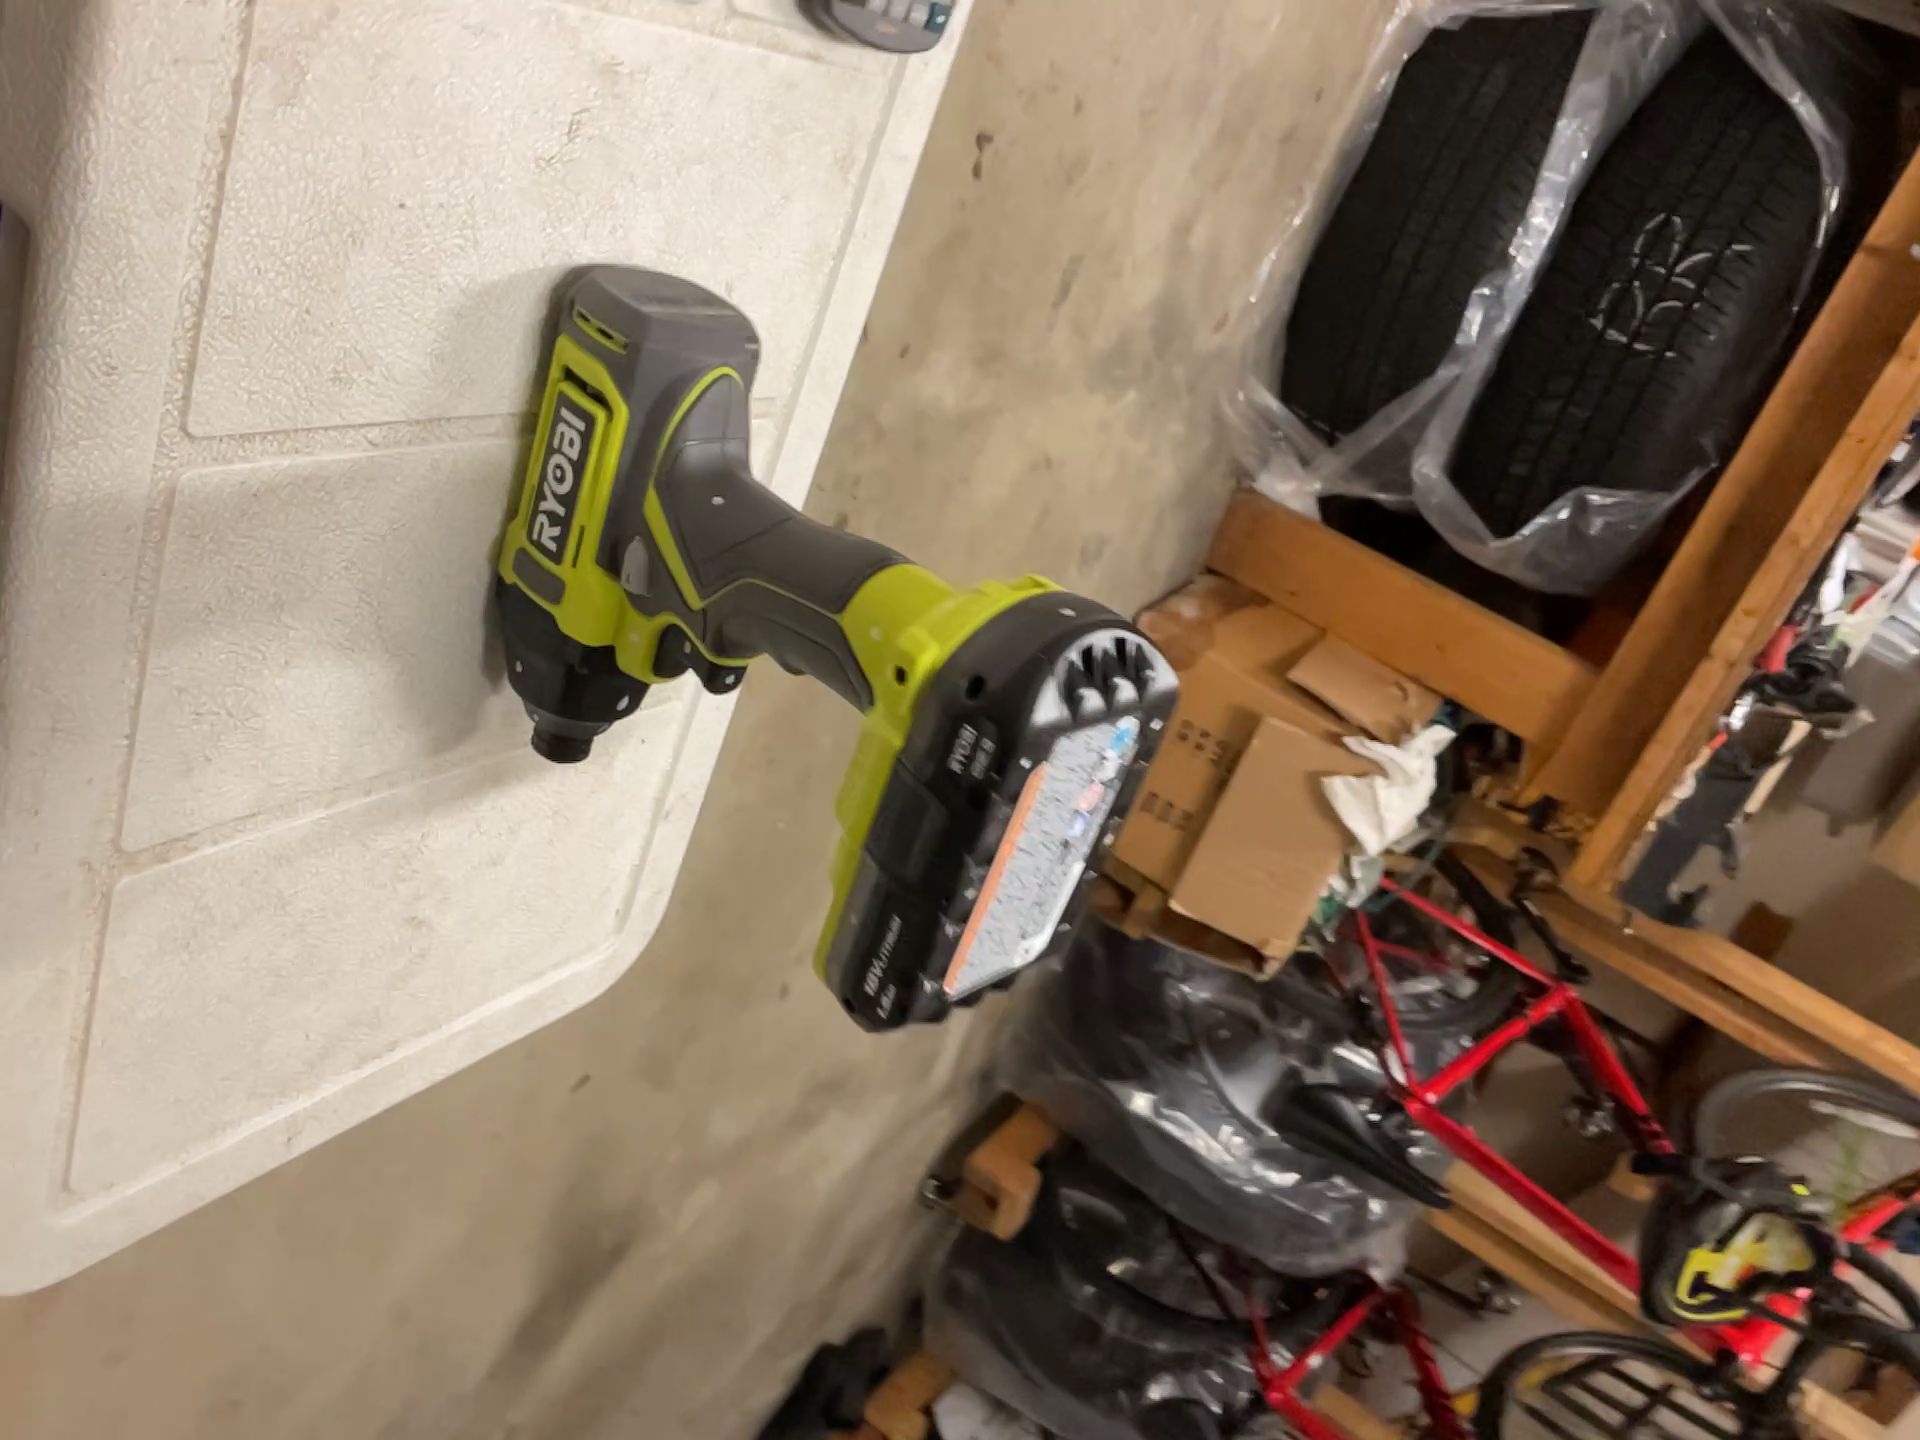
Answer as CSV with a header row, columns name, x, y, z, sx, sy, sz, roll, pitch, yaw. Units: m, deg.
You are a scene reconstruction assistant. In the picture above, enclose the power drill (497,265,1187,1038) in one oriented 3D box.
name,x,y,z,sx,sy,sz,roll,pitch,yaw
power drill,-0.056,-0.015,0.487,0.080,0.223,0.171,-14,133,-49
